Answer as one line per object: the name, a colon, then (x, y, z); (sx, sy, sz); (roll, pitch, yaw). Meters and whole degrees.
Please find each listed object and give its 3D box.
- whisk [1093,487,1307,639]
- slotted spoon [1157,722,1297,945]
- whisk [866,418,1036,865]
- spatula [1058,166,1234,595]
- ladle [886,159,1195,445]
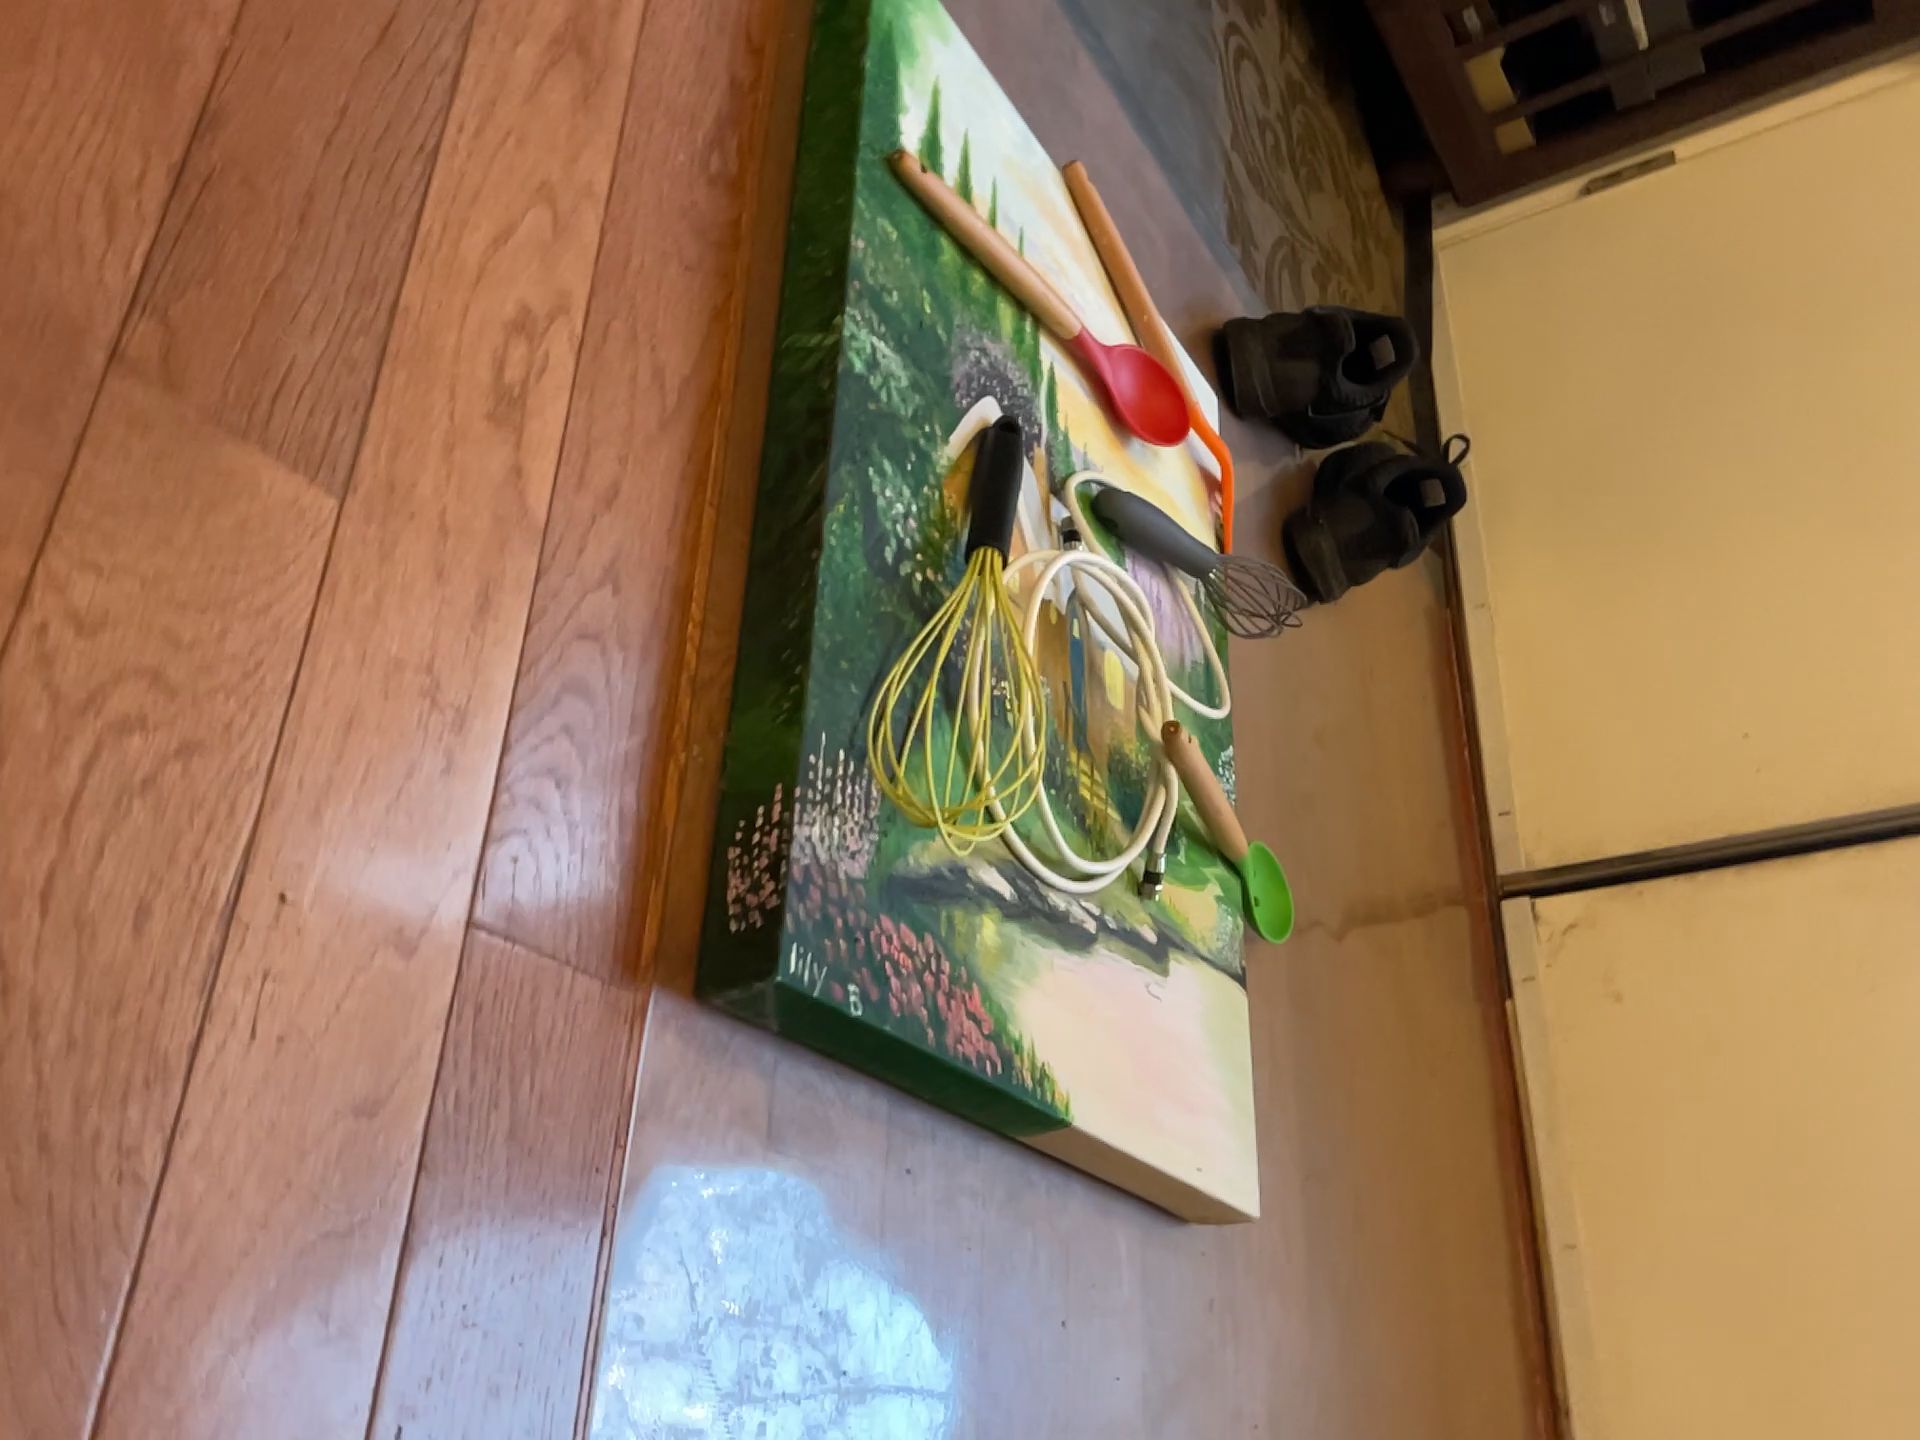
whisk: (0.160, -0.103, 1.046); (0.238, 0.055, 0.055); (23, 47, -48)
slotted spoon: (0.166, 0.070, 0.984); (0.313, 0.031, 0.070); (50, 37, -57)
whisk: (0.007, -0.055, 0.758); (0.312, 0.067, 0.079); (-81, 149, -46)
spatula: (0.140, -0.234, 1.111); (0.322, 0.041, 0.081); (57, 23, -27)
ladle: (0.055, -0.244, 0.948); (0.315, 0.031, 0.069); (26, 54, -51)
